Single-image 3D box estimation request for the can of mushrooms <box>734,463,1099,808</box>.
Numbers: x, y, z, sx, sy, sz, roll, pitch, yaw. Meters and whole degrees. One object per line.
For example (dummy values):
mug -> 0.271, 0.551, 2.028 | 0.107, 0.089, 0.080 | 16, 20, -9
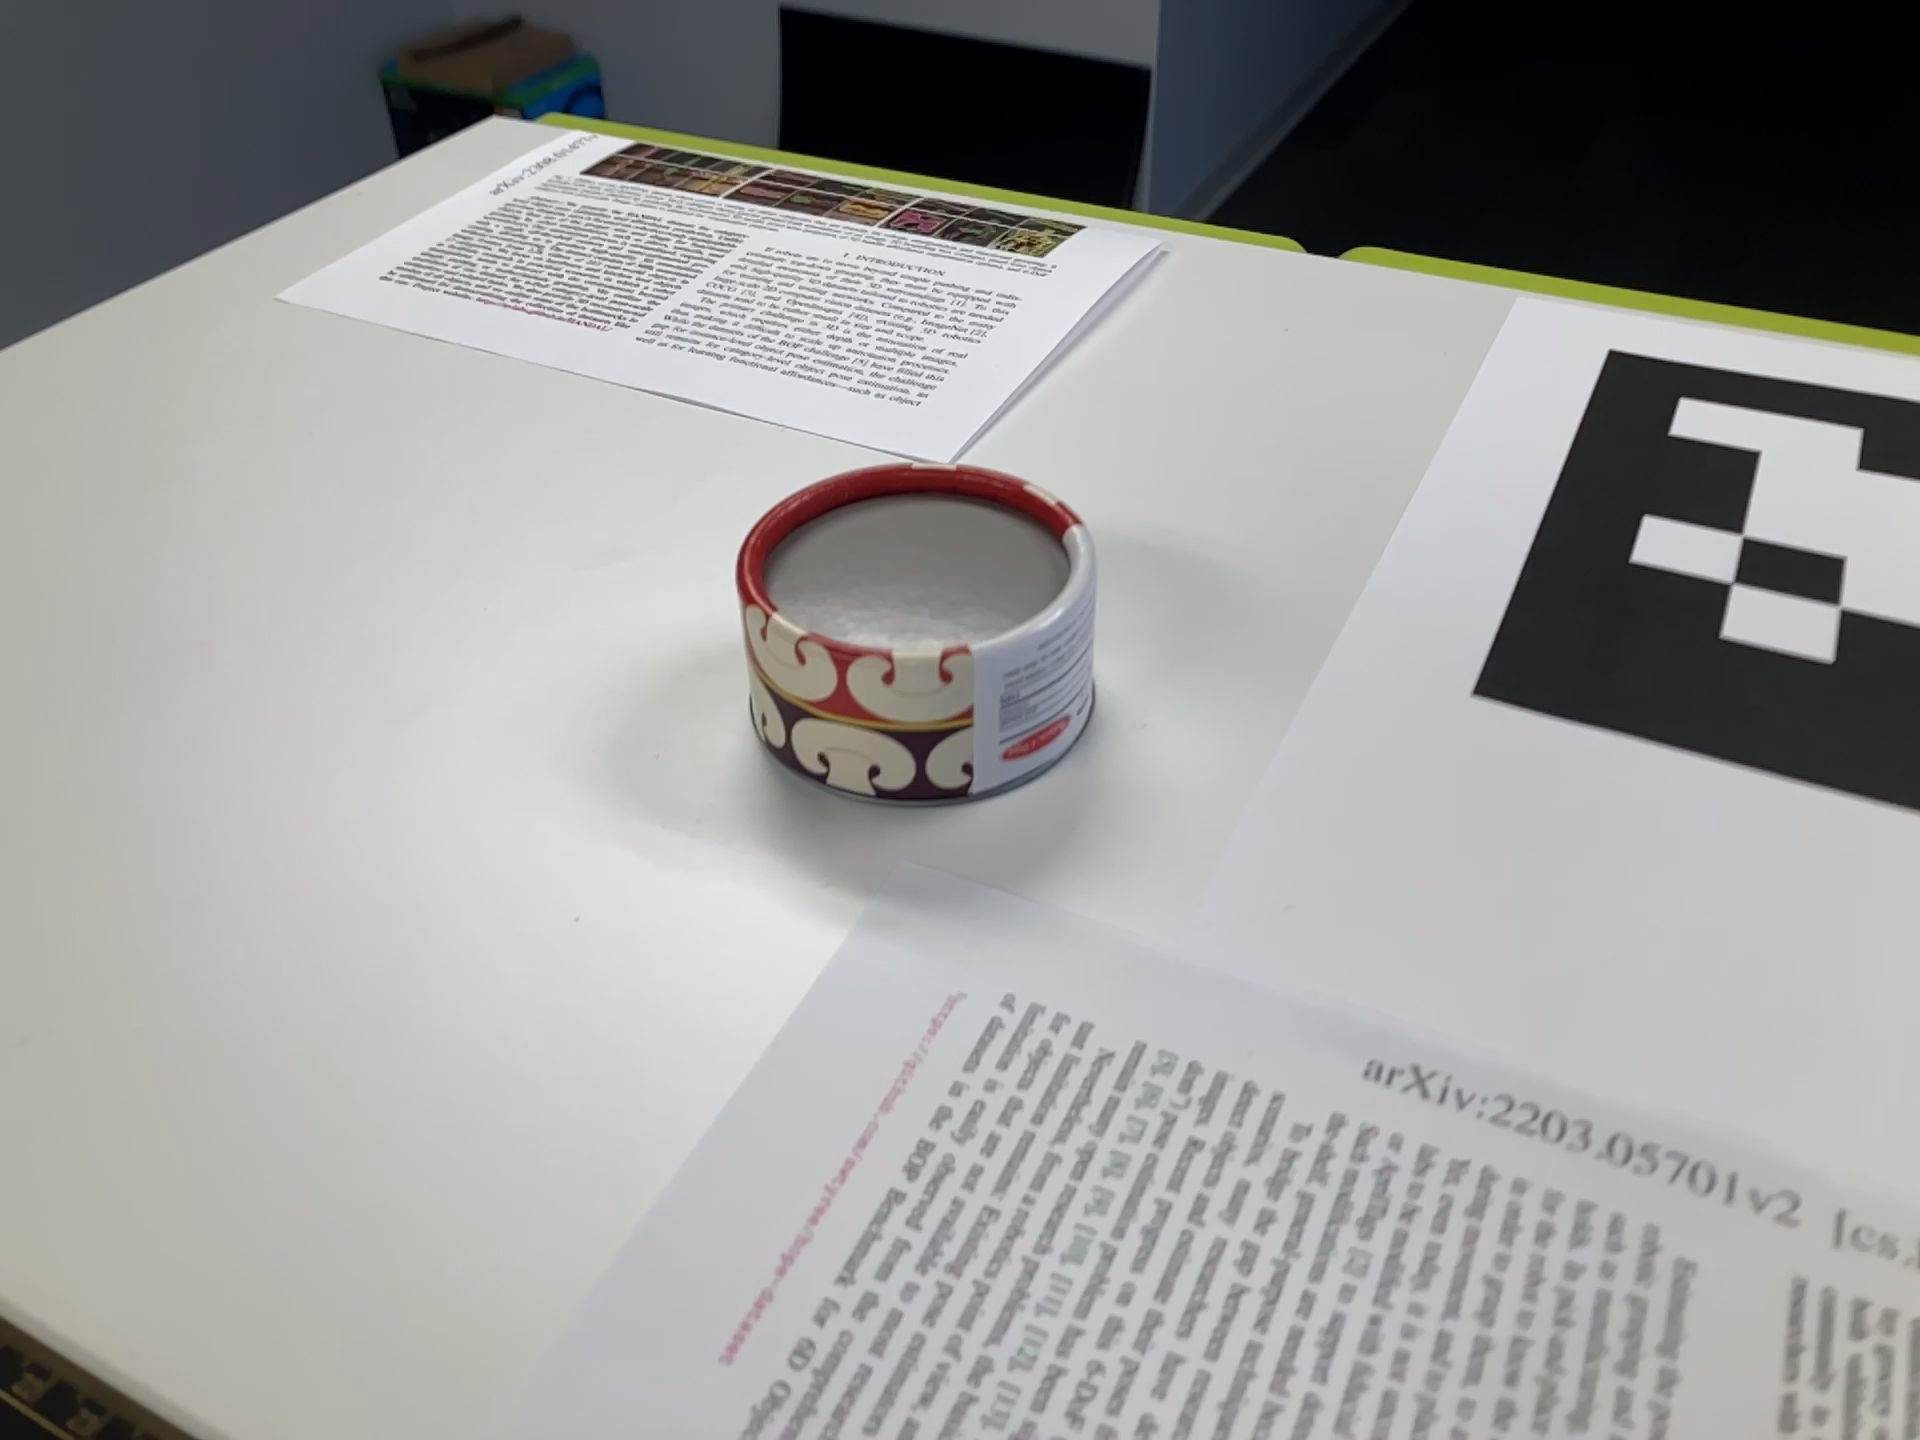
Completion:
can of mushrooms -> -0.010, -0.018, 0.293 | 0.071, 0.033, 0.071 | -2, 39, 1
